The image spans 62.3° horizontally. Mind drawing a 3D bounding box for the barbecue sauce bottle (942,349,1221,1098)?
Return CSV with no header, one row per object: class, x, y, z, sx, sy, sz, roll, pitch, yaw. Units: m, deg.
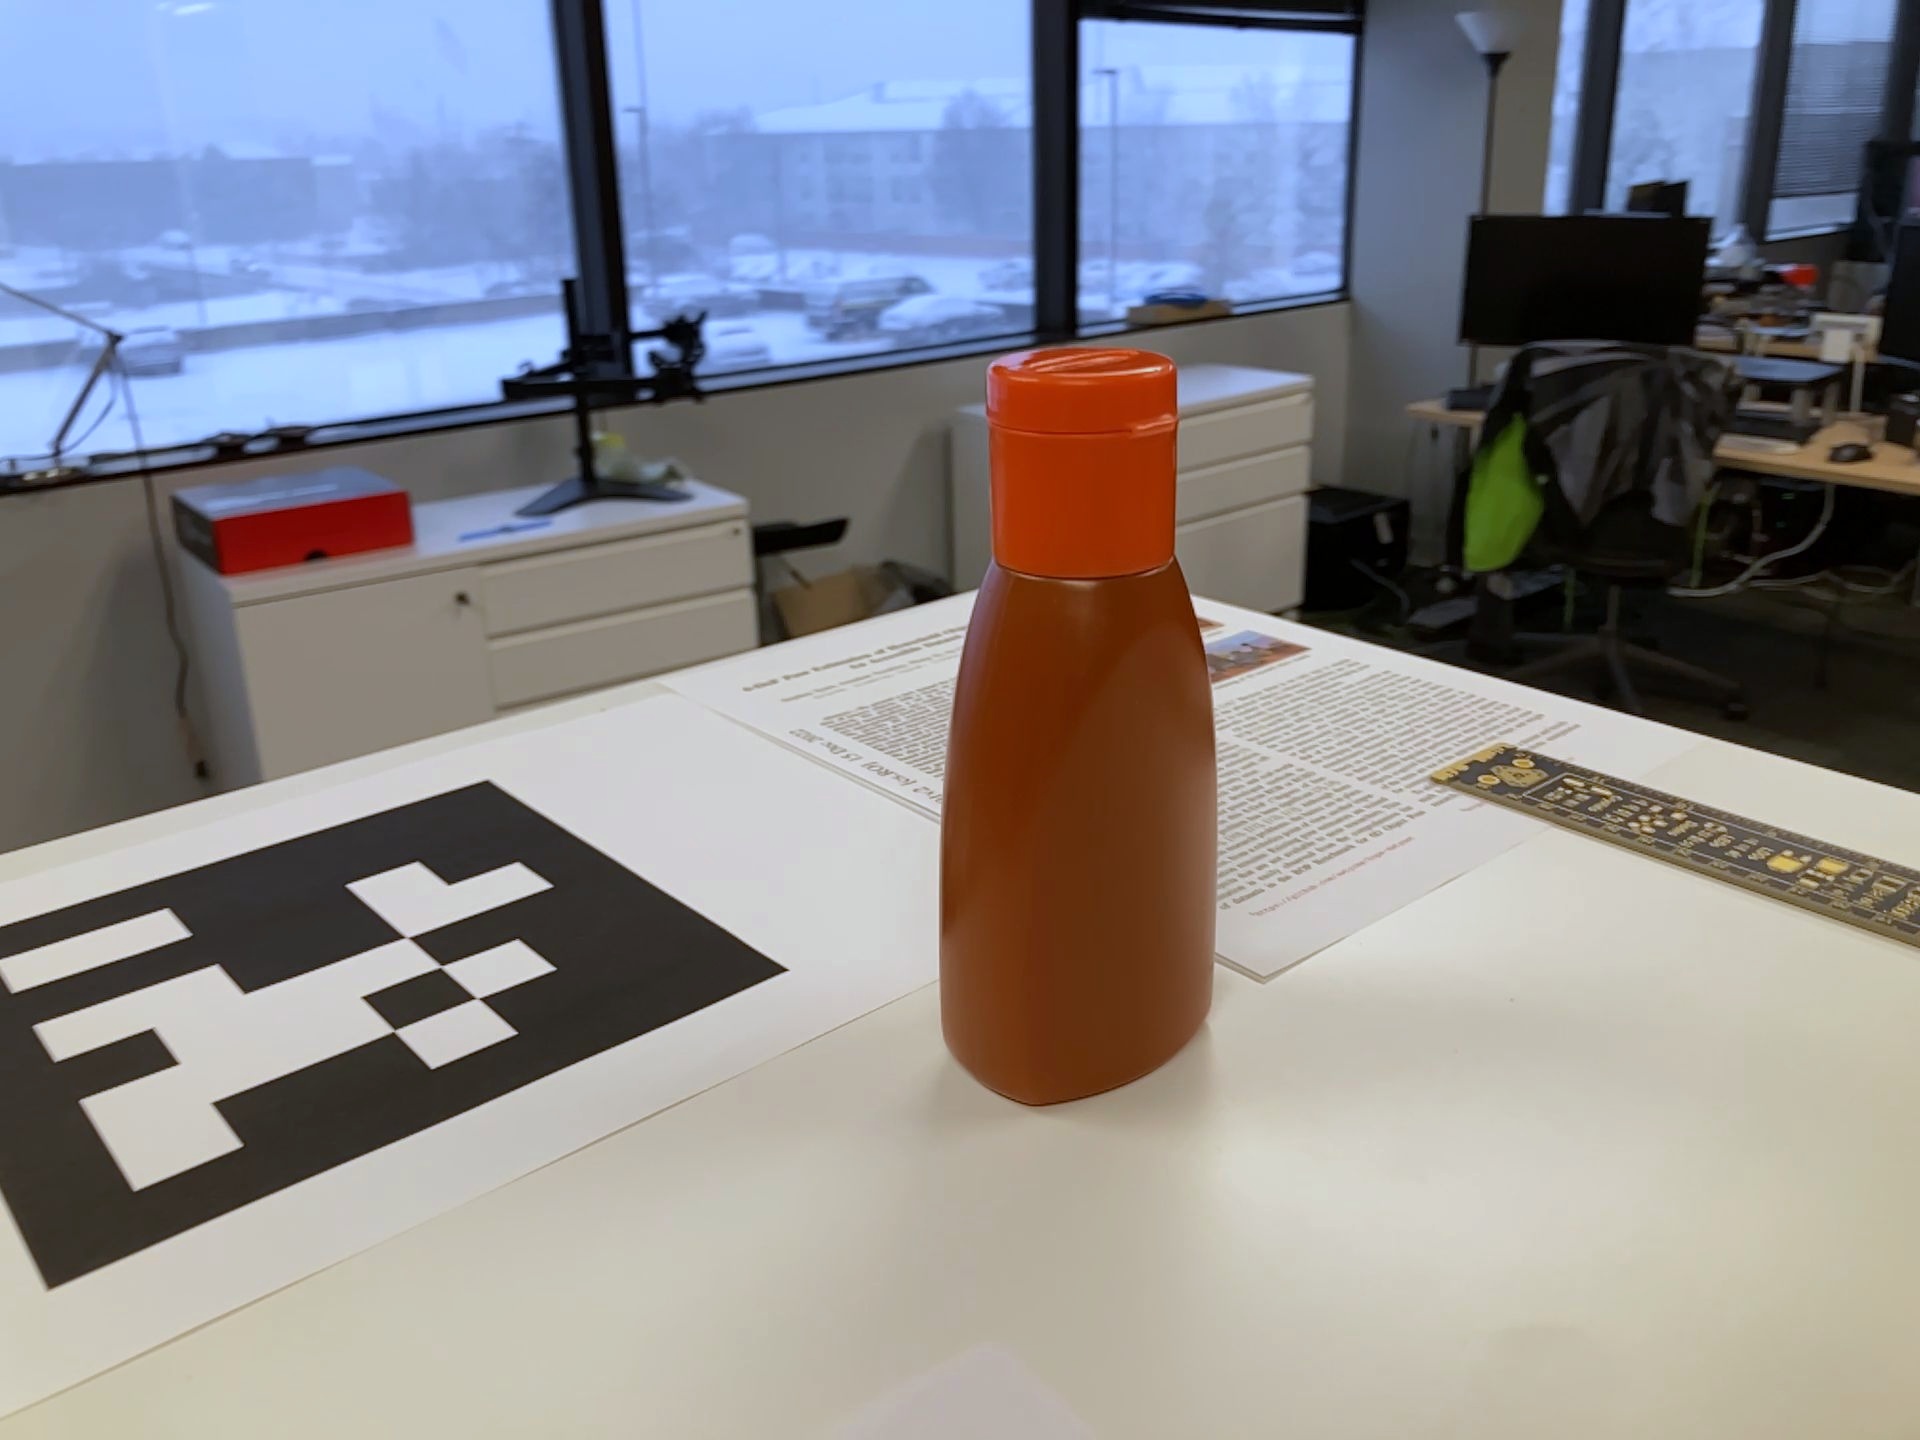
barbecue sauce bottle,0.026,0.001,0.328,0.065,0.148,0.043,-18,26,-36
